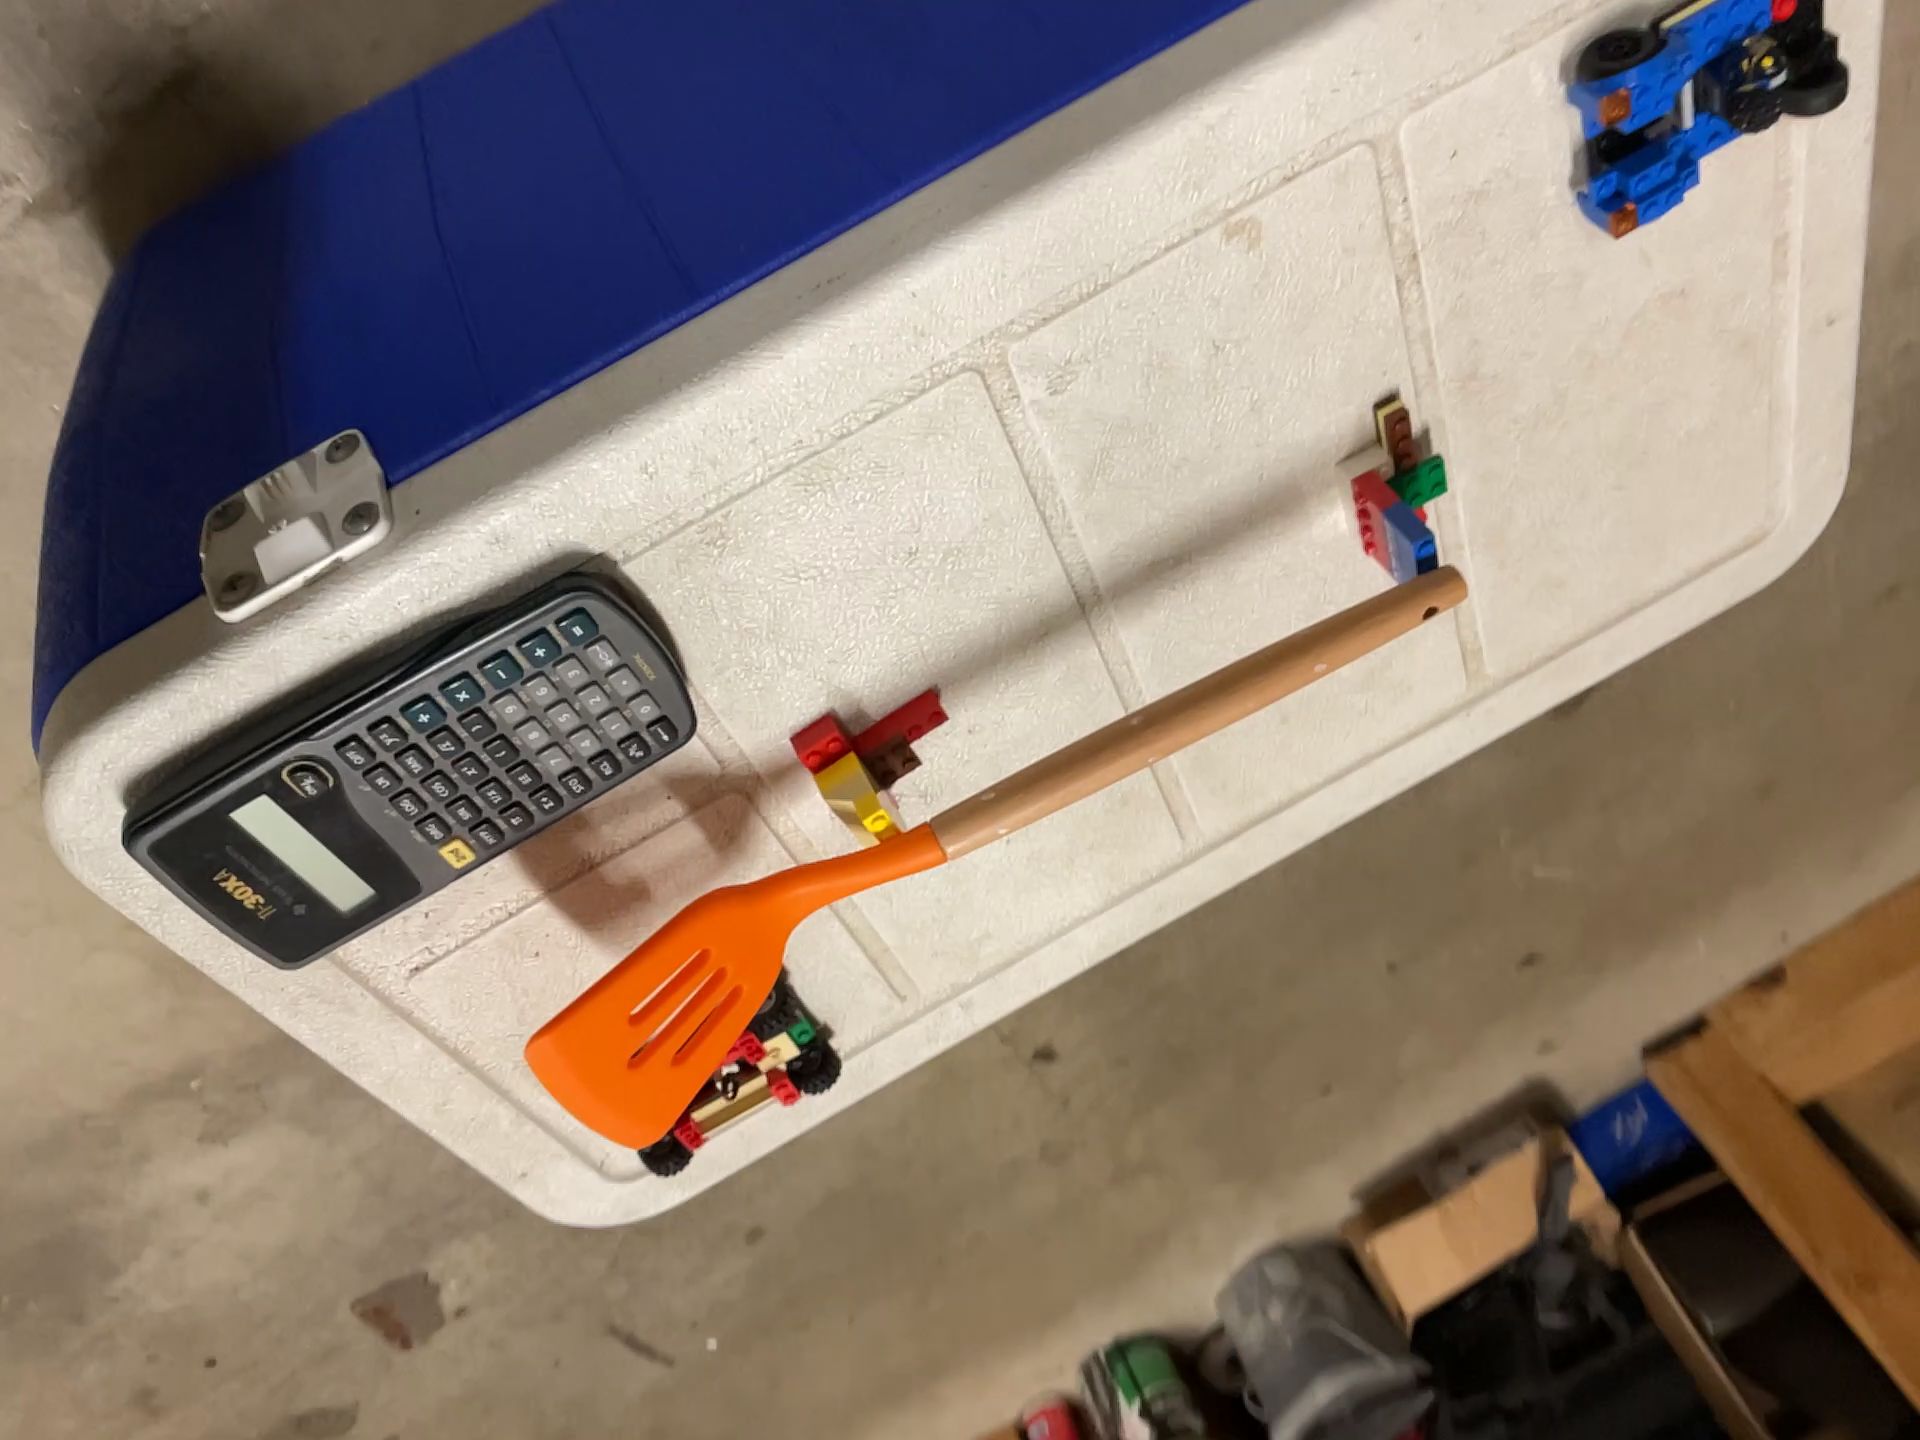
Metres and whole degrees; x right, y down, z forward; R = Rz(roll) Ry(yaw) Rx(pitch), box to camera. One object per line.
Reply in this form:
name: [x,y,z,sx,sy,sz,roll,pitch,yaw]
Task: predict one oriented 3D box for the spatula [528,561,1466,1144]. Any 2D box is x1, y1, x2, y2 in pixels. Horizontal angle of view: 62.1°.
spatula: [0.019,0.033,0.504,0.322,0.041,0.080,-27,139,-1]
